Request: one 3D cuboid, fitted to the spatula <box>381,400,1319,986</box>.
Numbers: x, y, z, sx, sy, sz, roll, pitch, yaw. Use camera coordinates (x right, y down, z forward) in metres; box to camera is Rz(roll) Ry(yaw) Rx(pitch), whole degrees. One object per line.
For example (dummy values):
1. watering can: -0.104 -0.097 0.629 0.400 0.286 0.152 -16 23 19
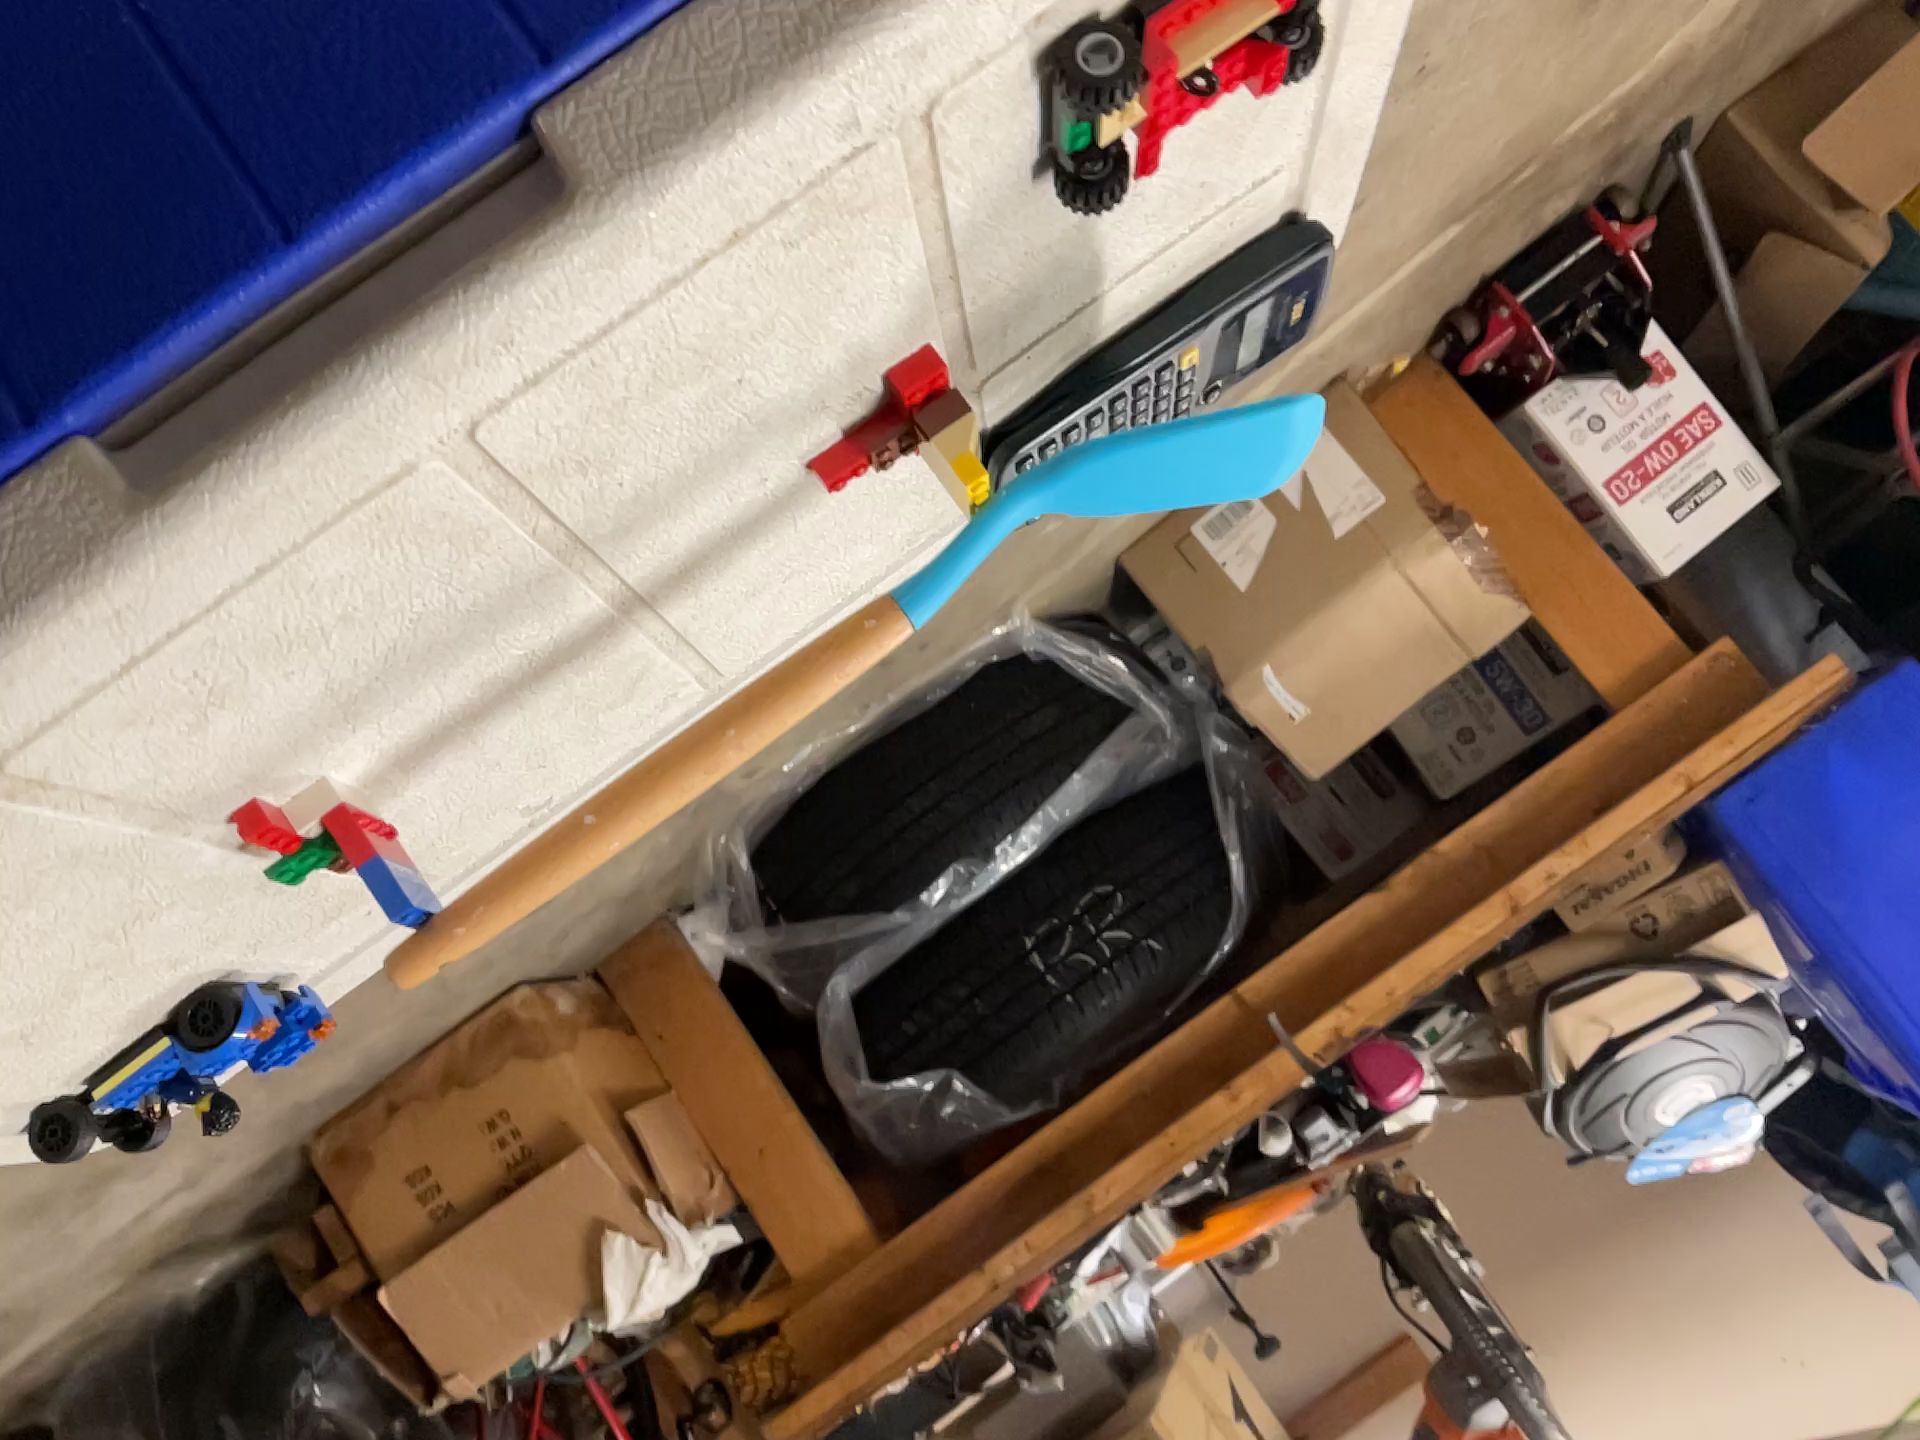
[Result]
1. spatula: -0.034 -0.010 0.483 0.317 0.044 0.082 -36 170 -5
